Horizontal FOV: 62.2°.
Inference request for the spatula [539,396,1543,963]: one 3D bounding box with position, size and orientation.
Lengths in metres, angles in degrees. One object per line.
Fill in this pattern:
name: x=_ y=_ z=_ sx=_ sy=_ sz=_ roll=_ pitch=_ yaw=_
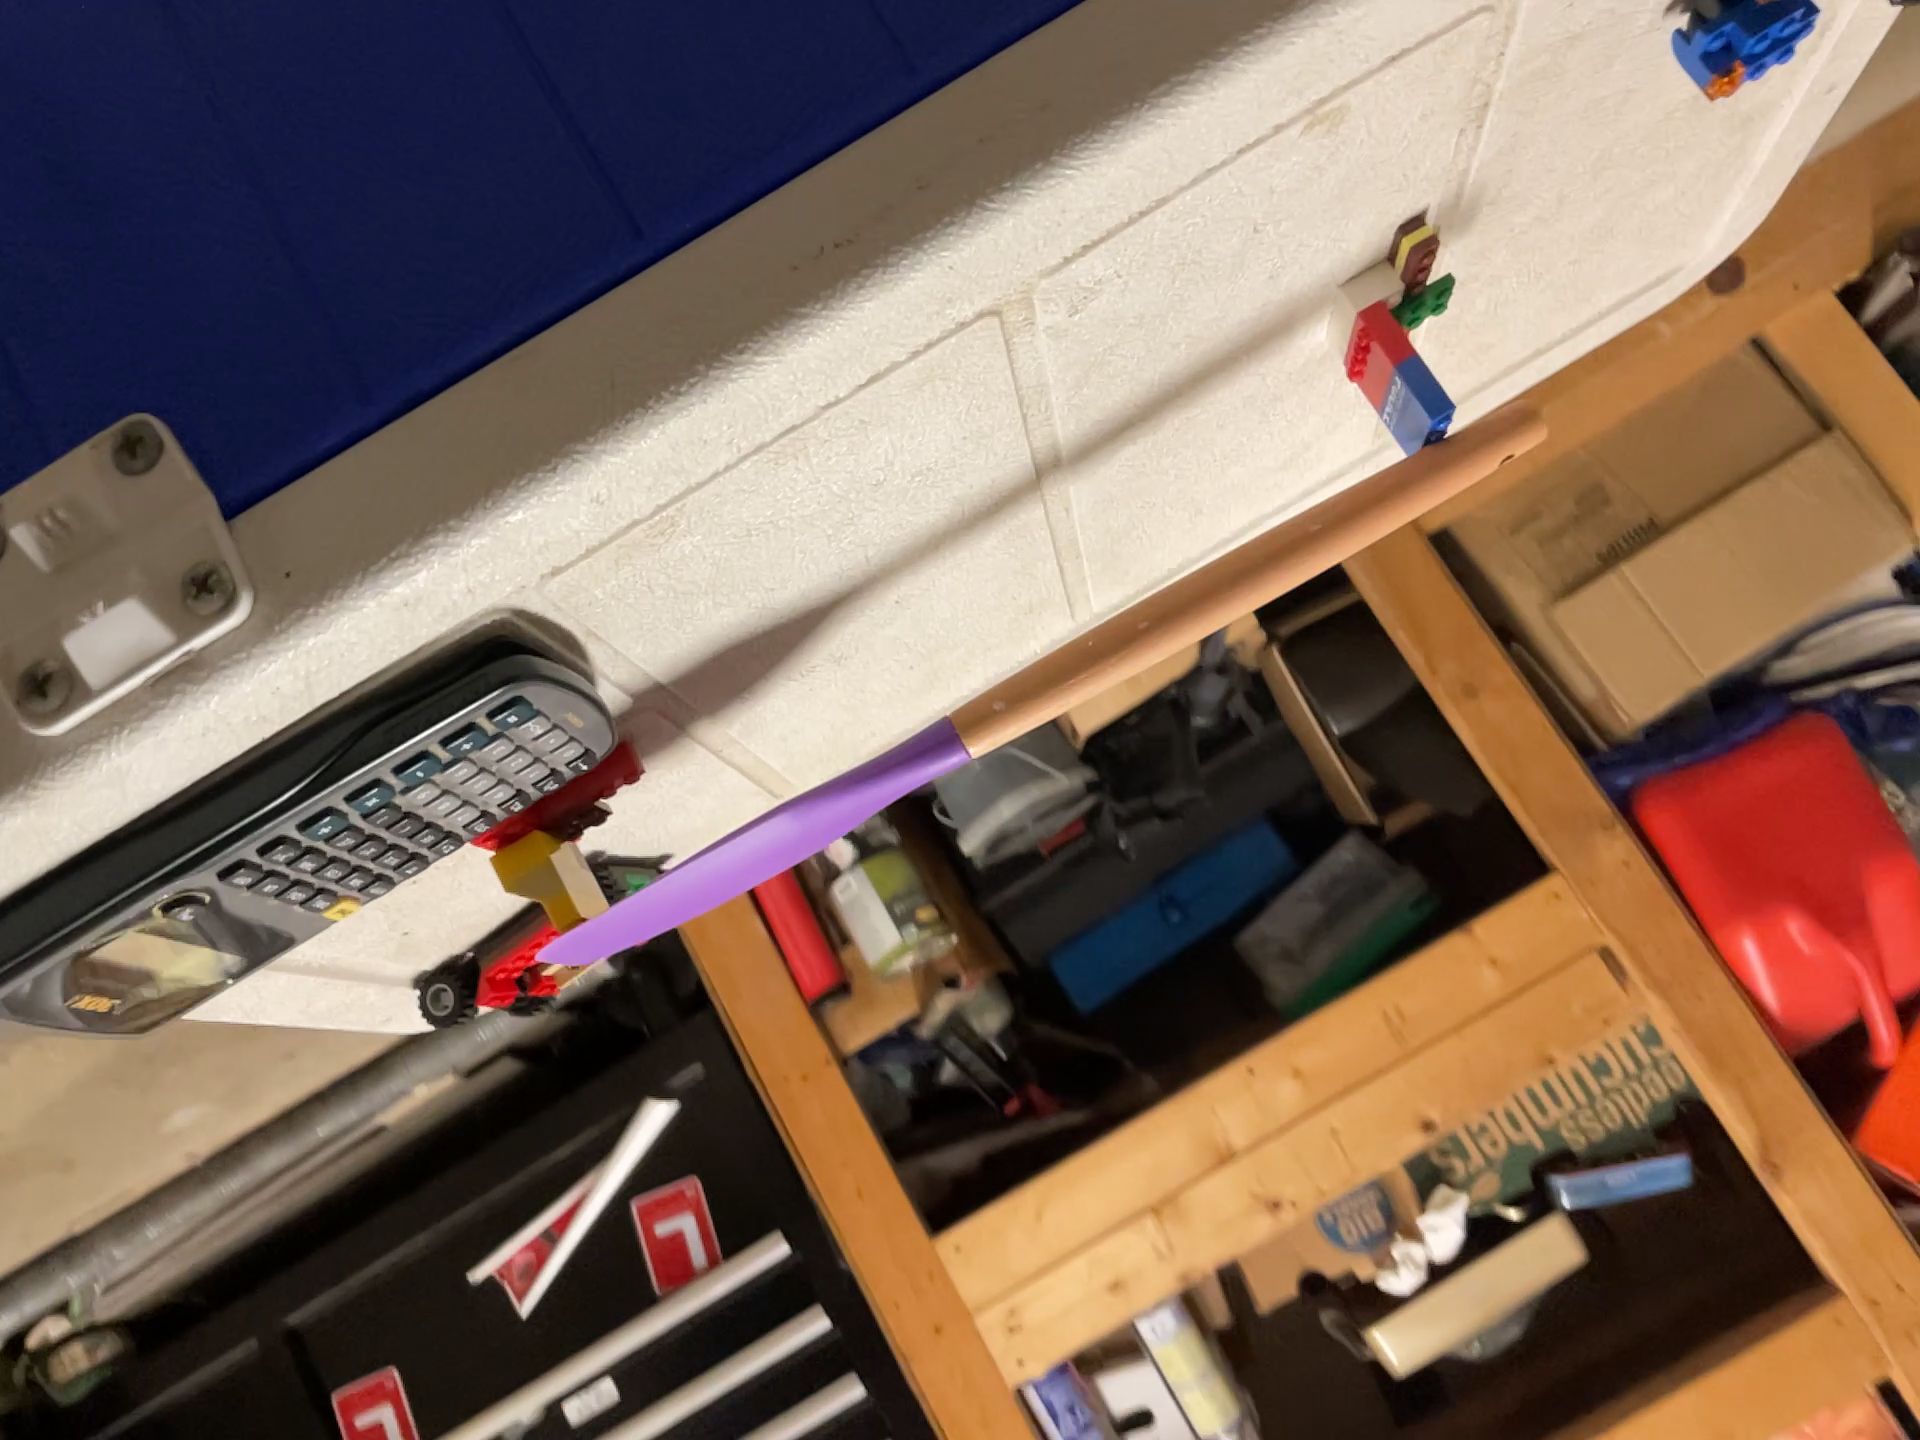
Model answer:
spatula: x=0.024 y=-0.009 z=0.455 sx=0.316 sy=0.018 sz=0.060 roll=-30 pitch=165 yaw=2
